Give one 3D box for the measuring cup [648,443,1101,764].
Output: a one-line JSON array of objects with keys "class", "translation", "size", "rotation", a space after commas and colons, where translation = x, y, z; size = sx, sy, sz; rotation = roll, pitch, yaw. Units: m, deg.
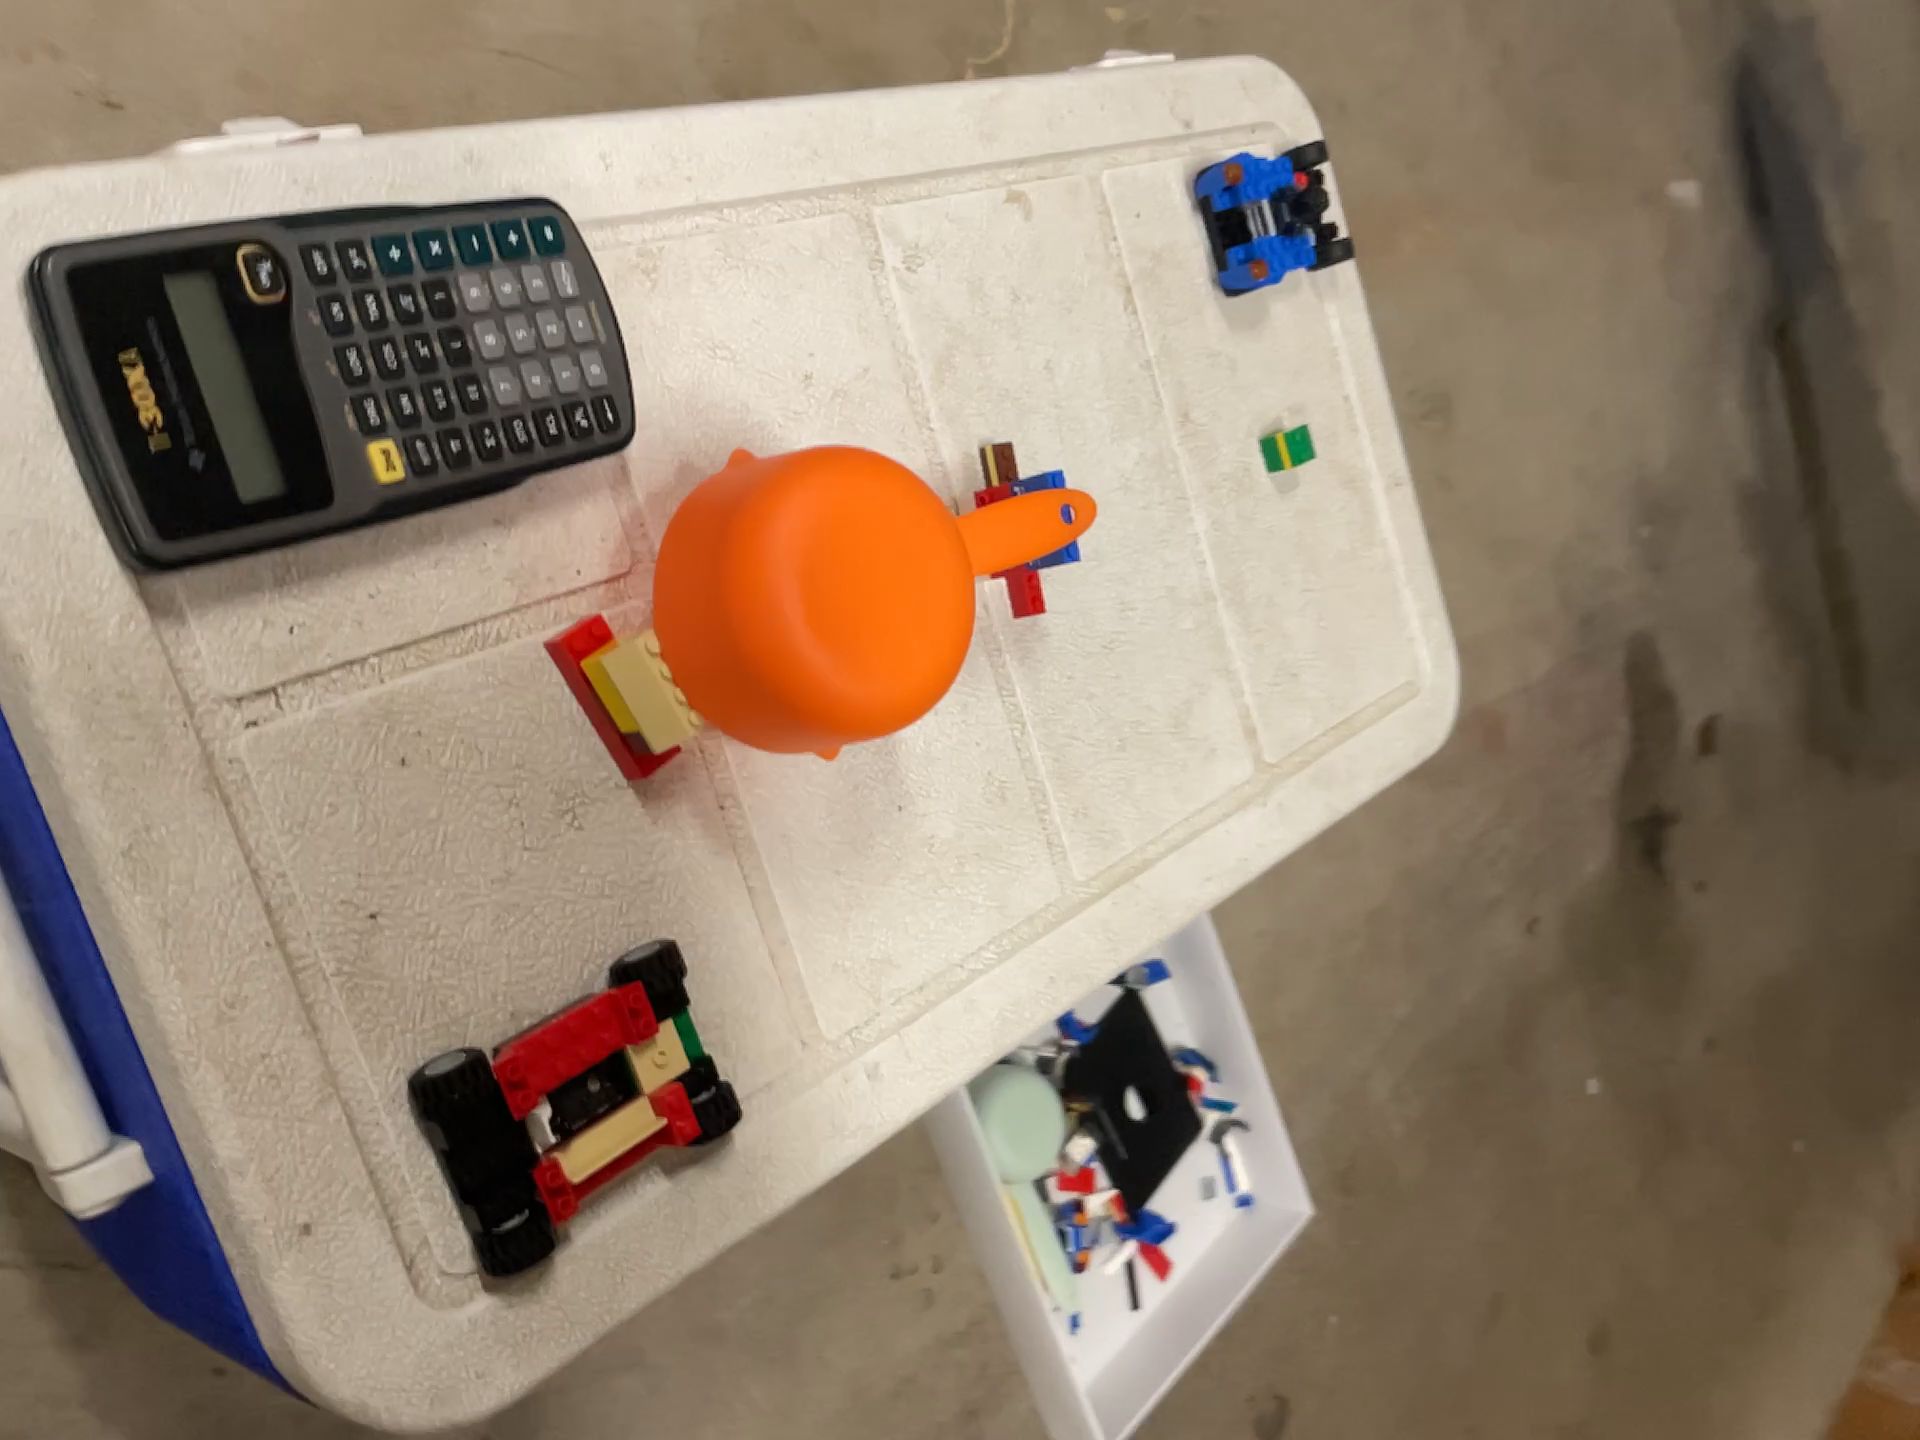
[{"class": "measuring cup", "translation": [-0.005, -0.047, 0.475], "size": [0.173, 0.052, 0.095], "rotation": [-22, 100, -36]}]
